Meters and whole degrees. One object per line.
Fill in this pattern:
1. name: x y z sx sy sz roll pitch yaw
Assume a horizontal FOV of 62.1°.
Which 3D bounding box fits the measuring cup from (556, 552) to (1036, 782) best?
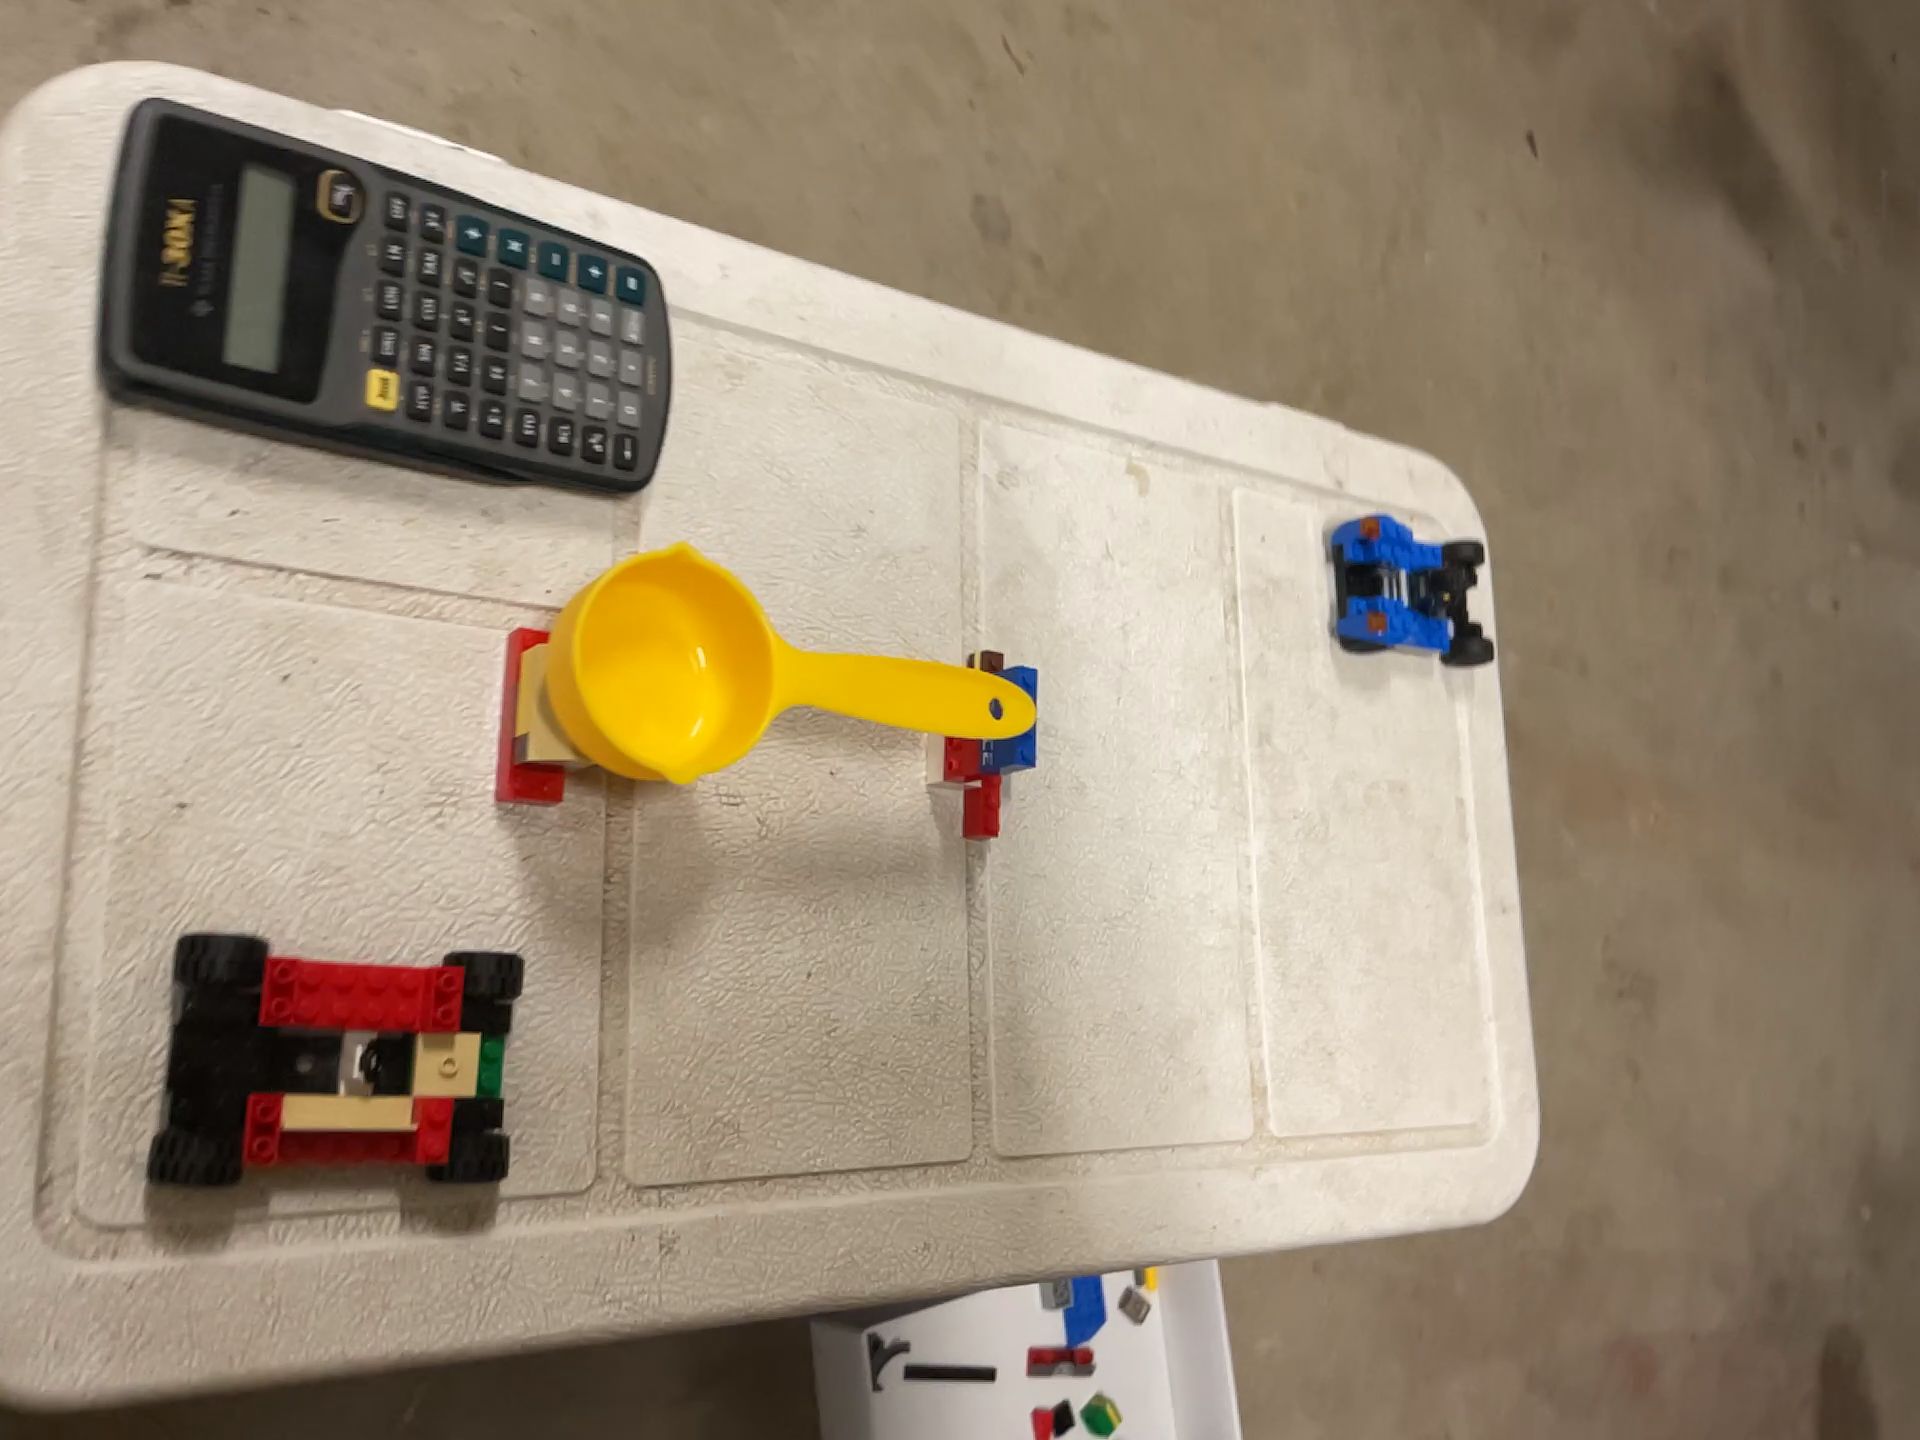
1. measuring cup: -0.043 -0.007 0.461 0.156 0.029 0.062 8 76 -40
